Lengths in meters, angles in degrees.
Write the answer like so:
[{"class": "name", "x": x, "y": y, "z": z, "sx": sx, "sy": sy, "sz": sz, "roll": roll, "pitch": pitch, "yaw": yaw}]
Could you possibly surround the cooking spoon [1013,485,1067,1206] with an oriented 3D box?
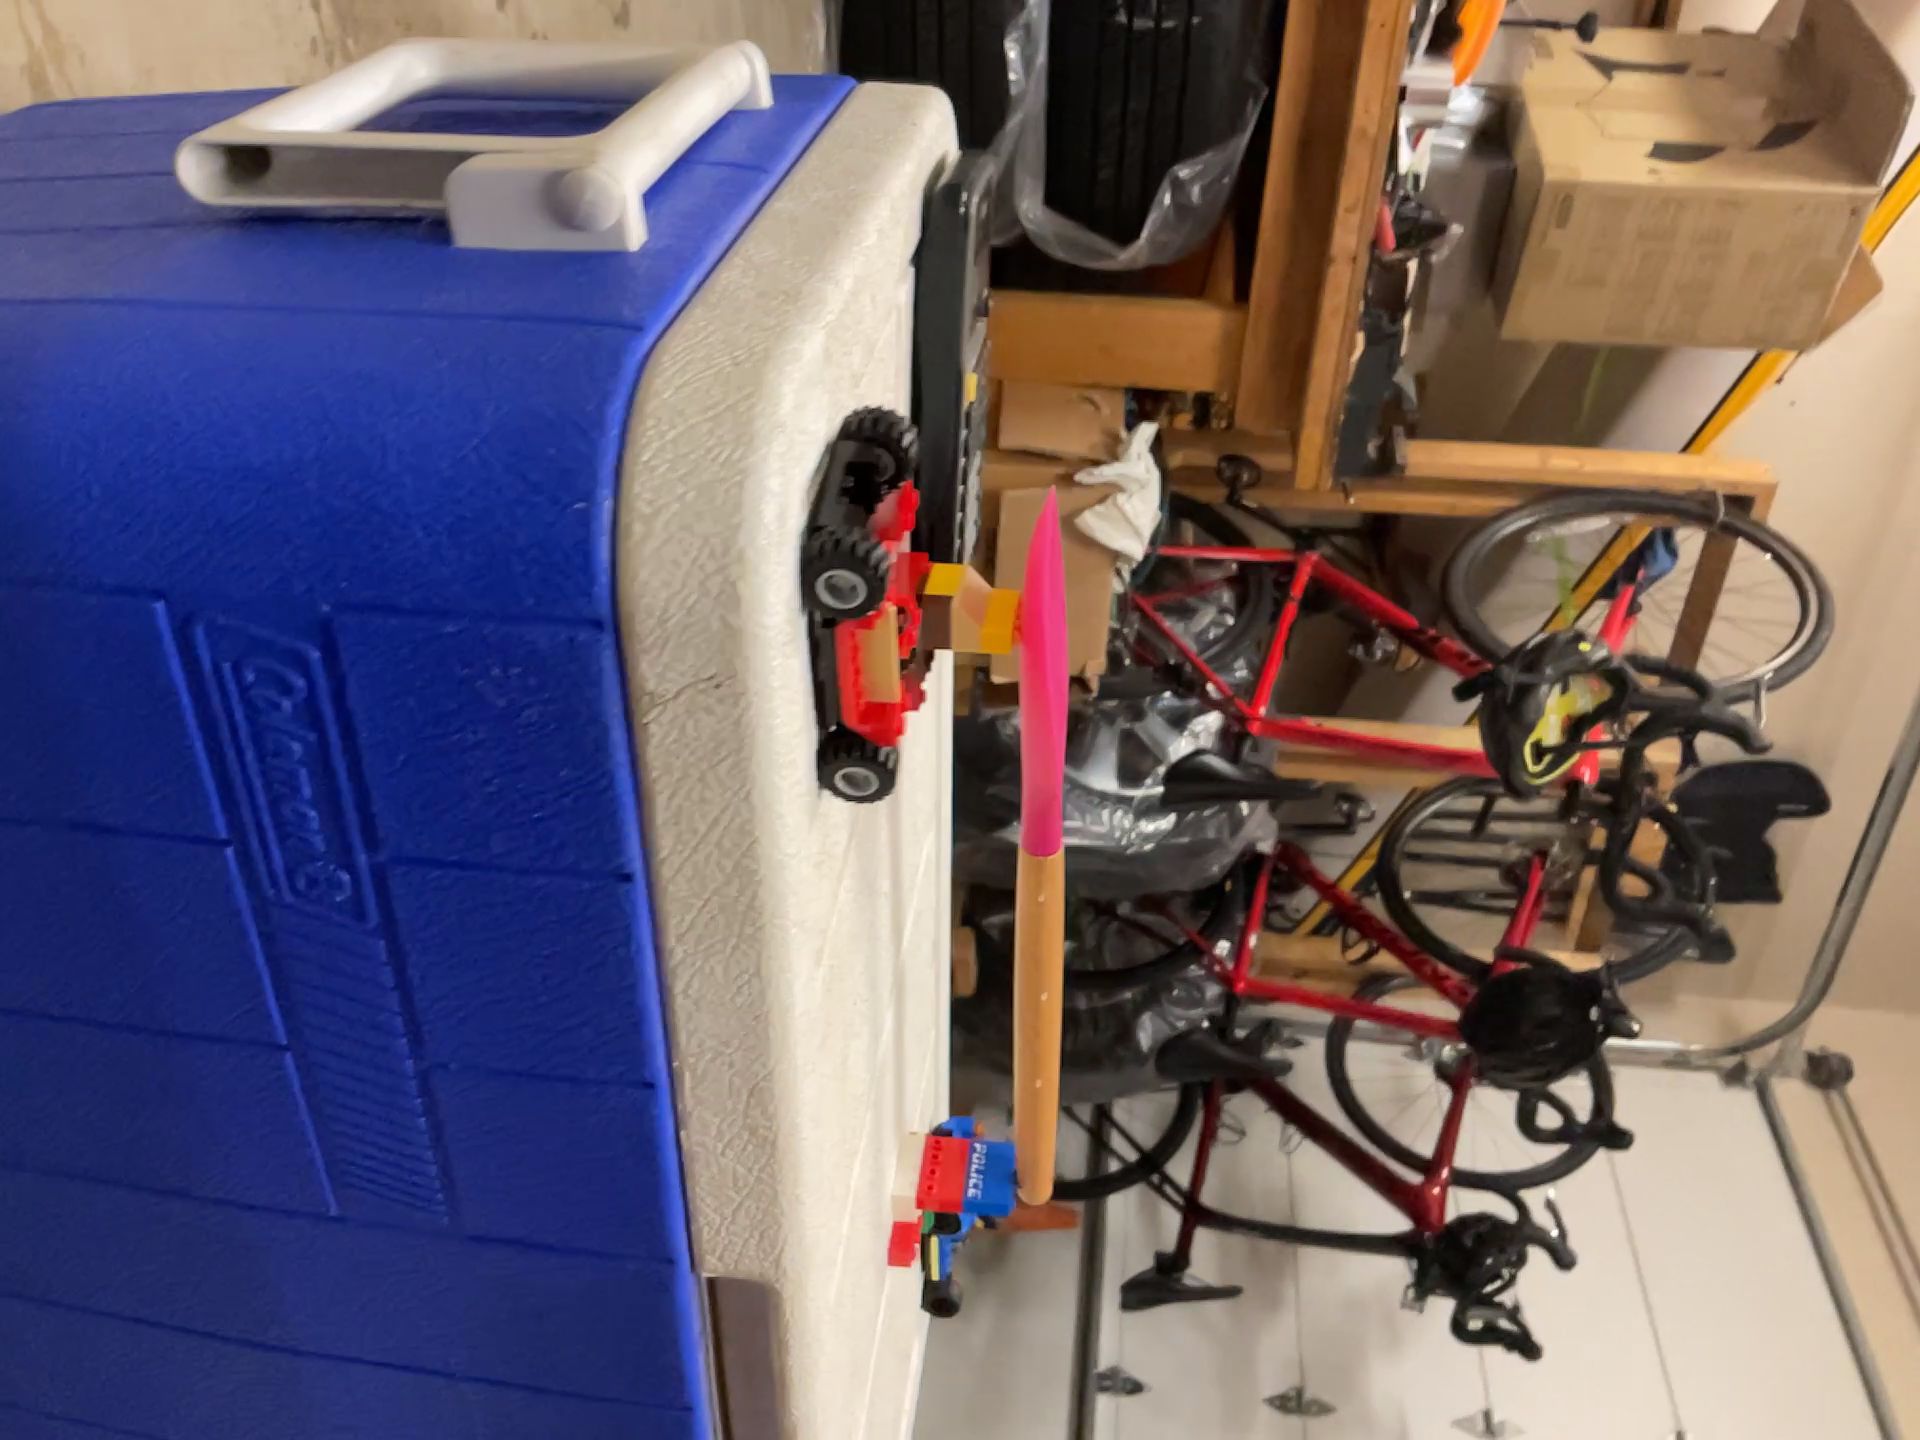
[{"class": "cooking spoon", "x": 0.028, "y": 0.066, "z": 0.576, "sx": 0.069, "sy": 0.017, "sz": 0.318, "roll": -78, "pitch": 169, "yaw": -56}]
